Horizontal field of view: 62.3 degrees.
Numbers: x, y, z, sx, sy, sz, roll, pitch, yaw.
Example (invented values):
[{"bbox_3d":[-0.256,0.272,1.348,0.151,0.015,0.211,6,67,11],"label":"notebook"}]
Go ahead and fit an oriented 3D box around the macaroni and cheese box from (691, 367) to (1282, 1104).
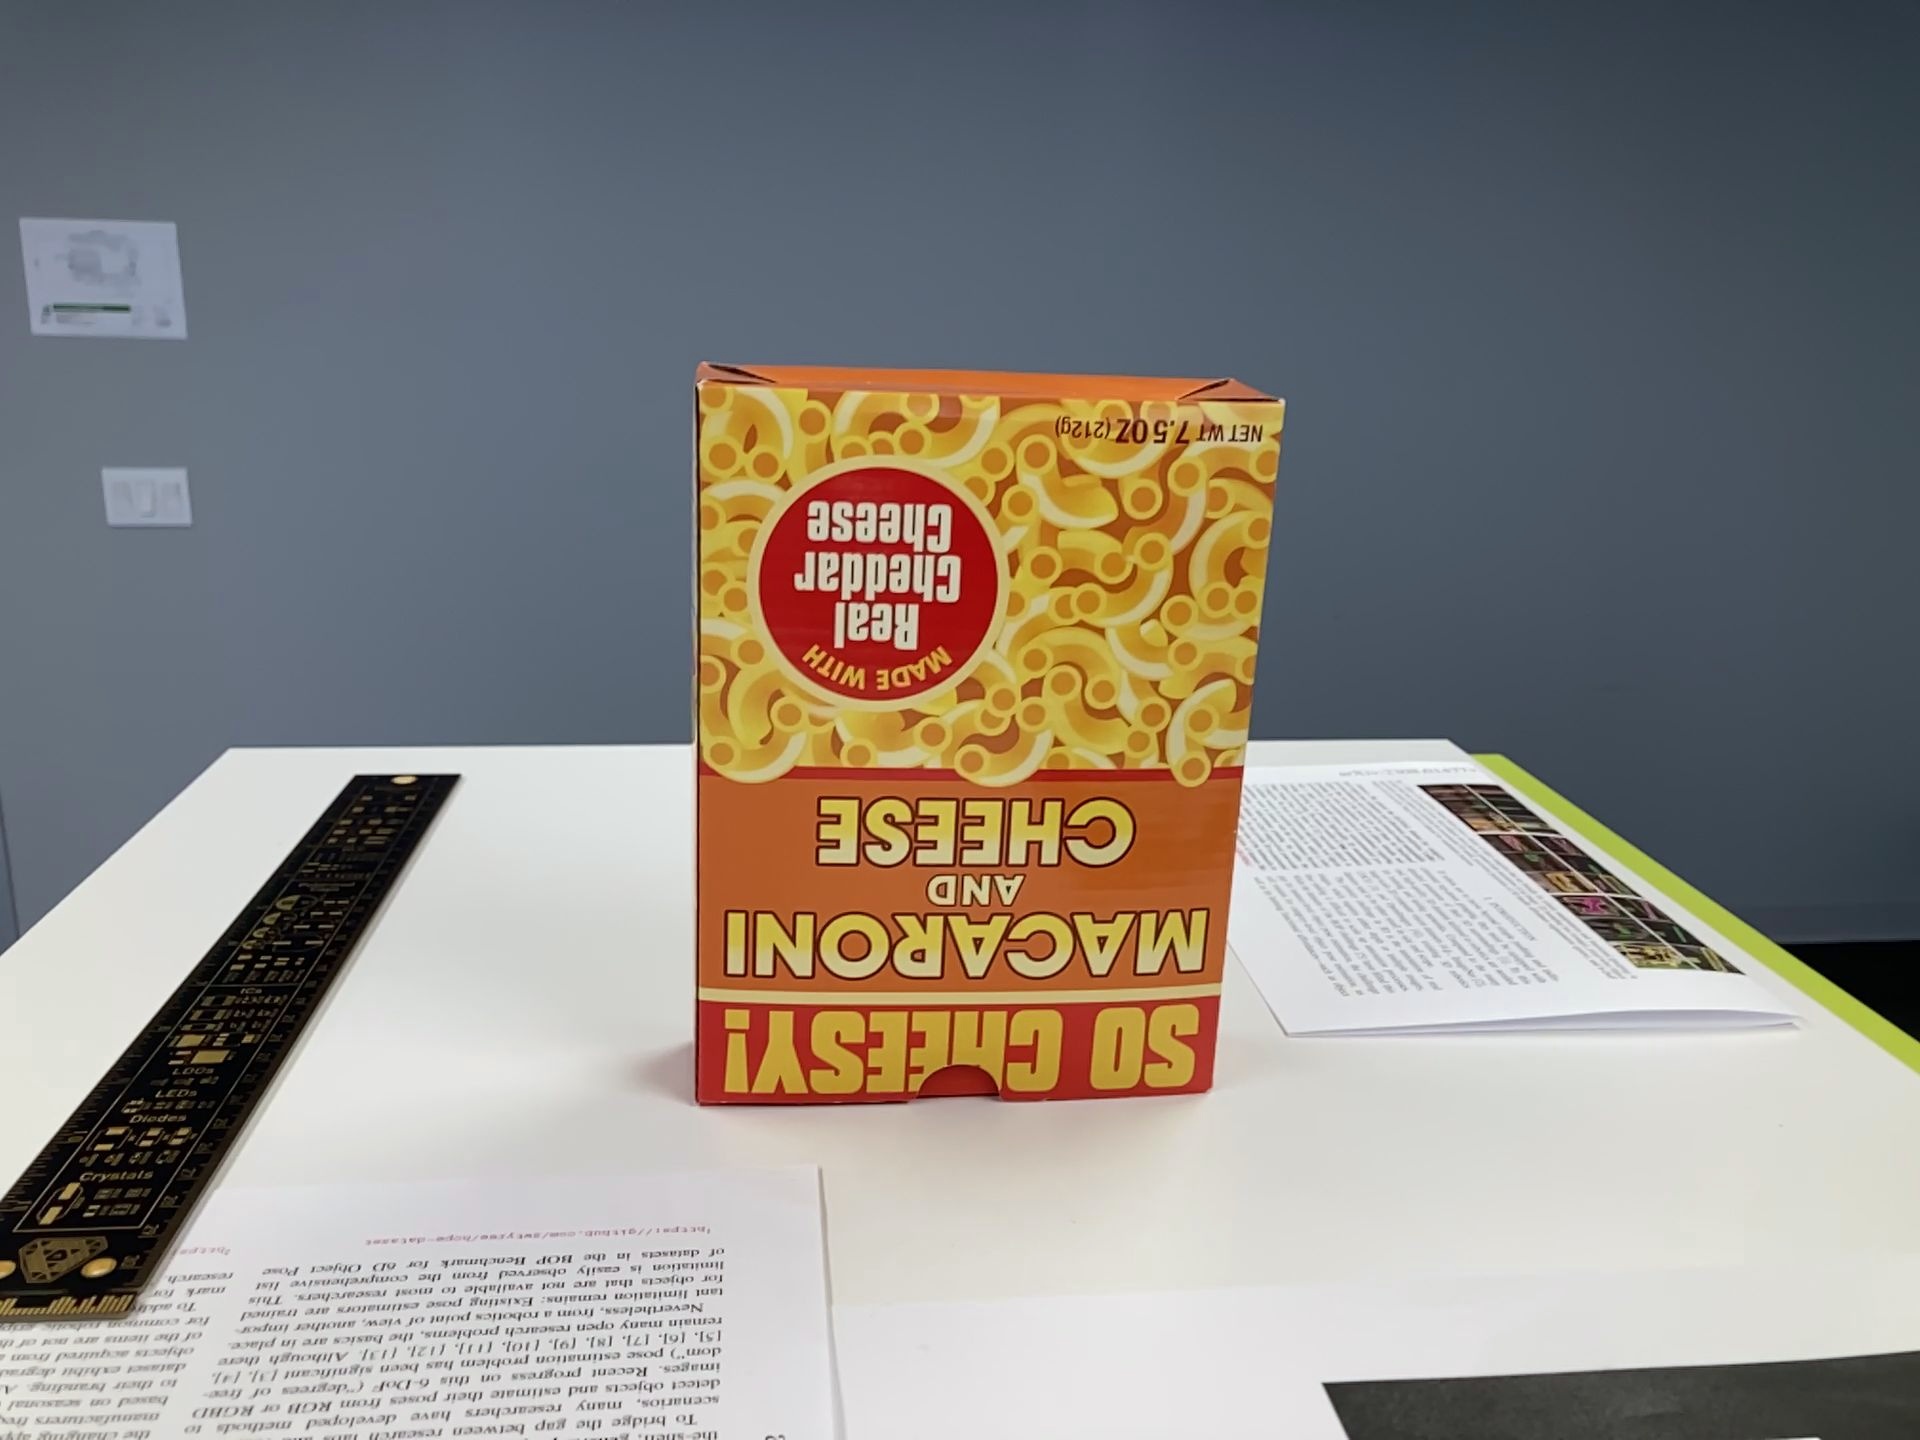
[{"bbox_3d":[0.000,0.007,0.366,0.124,0.166,0.040,1,18,-7],"label":"macaroni and cheese box"}]
